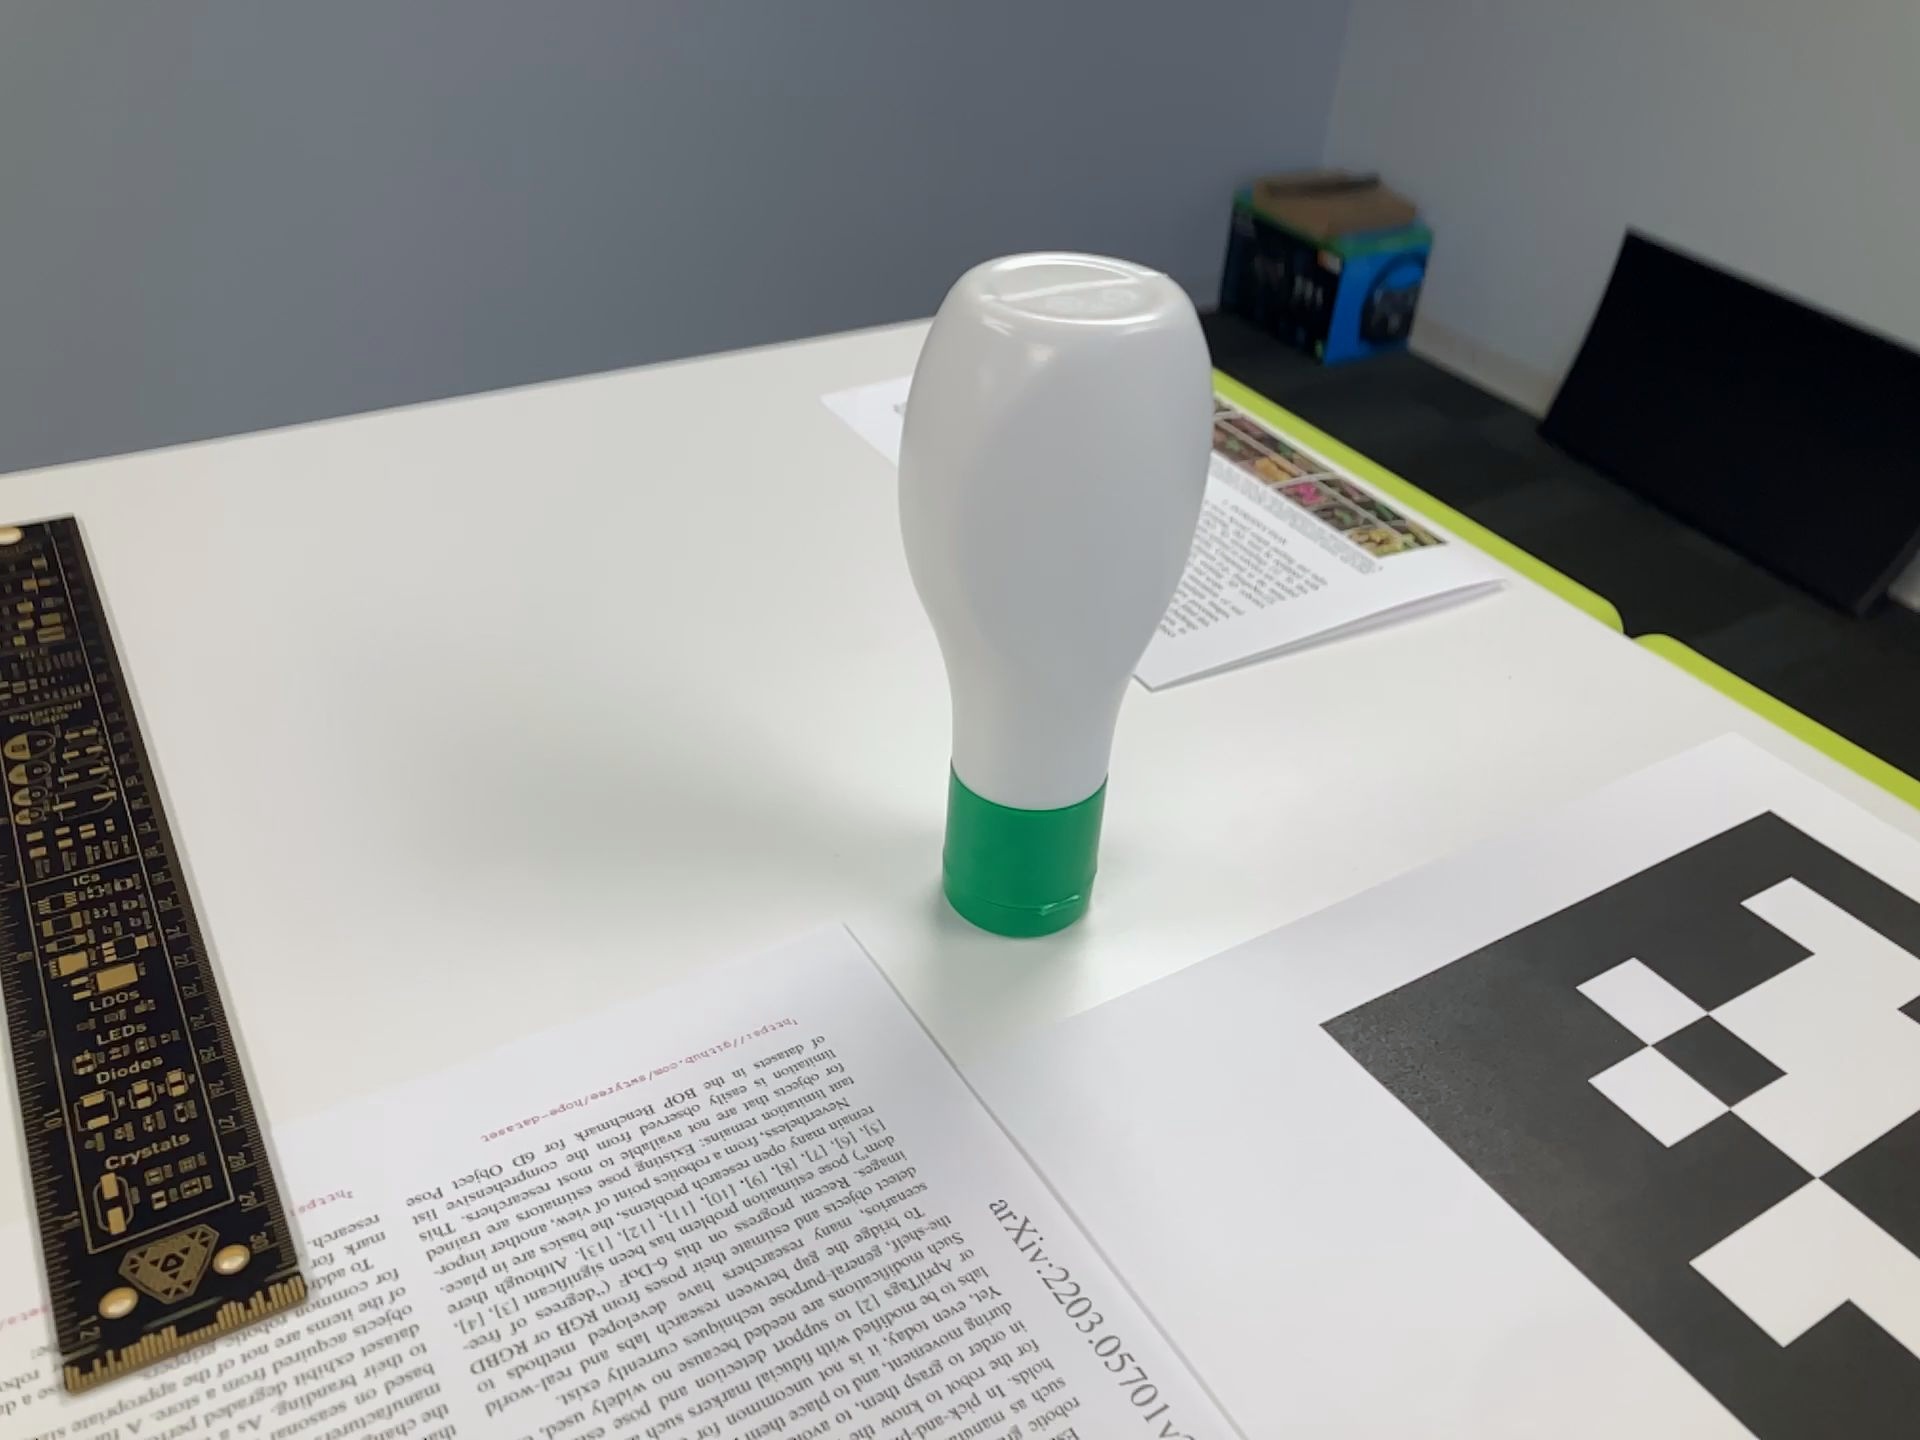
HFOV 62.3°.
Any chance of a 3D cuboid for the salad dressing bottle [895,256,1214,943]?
[{"bbox_3d":[0.017,-0.019,0.335,0.064,0.147,0.044,-15,38,-26],"label":"salad dressing bottle"}]
